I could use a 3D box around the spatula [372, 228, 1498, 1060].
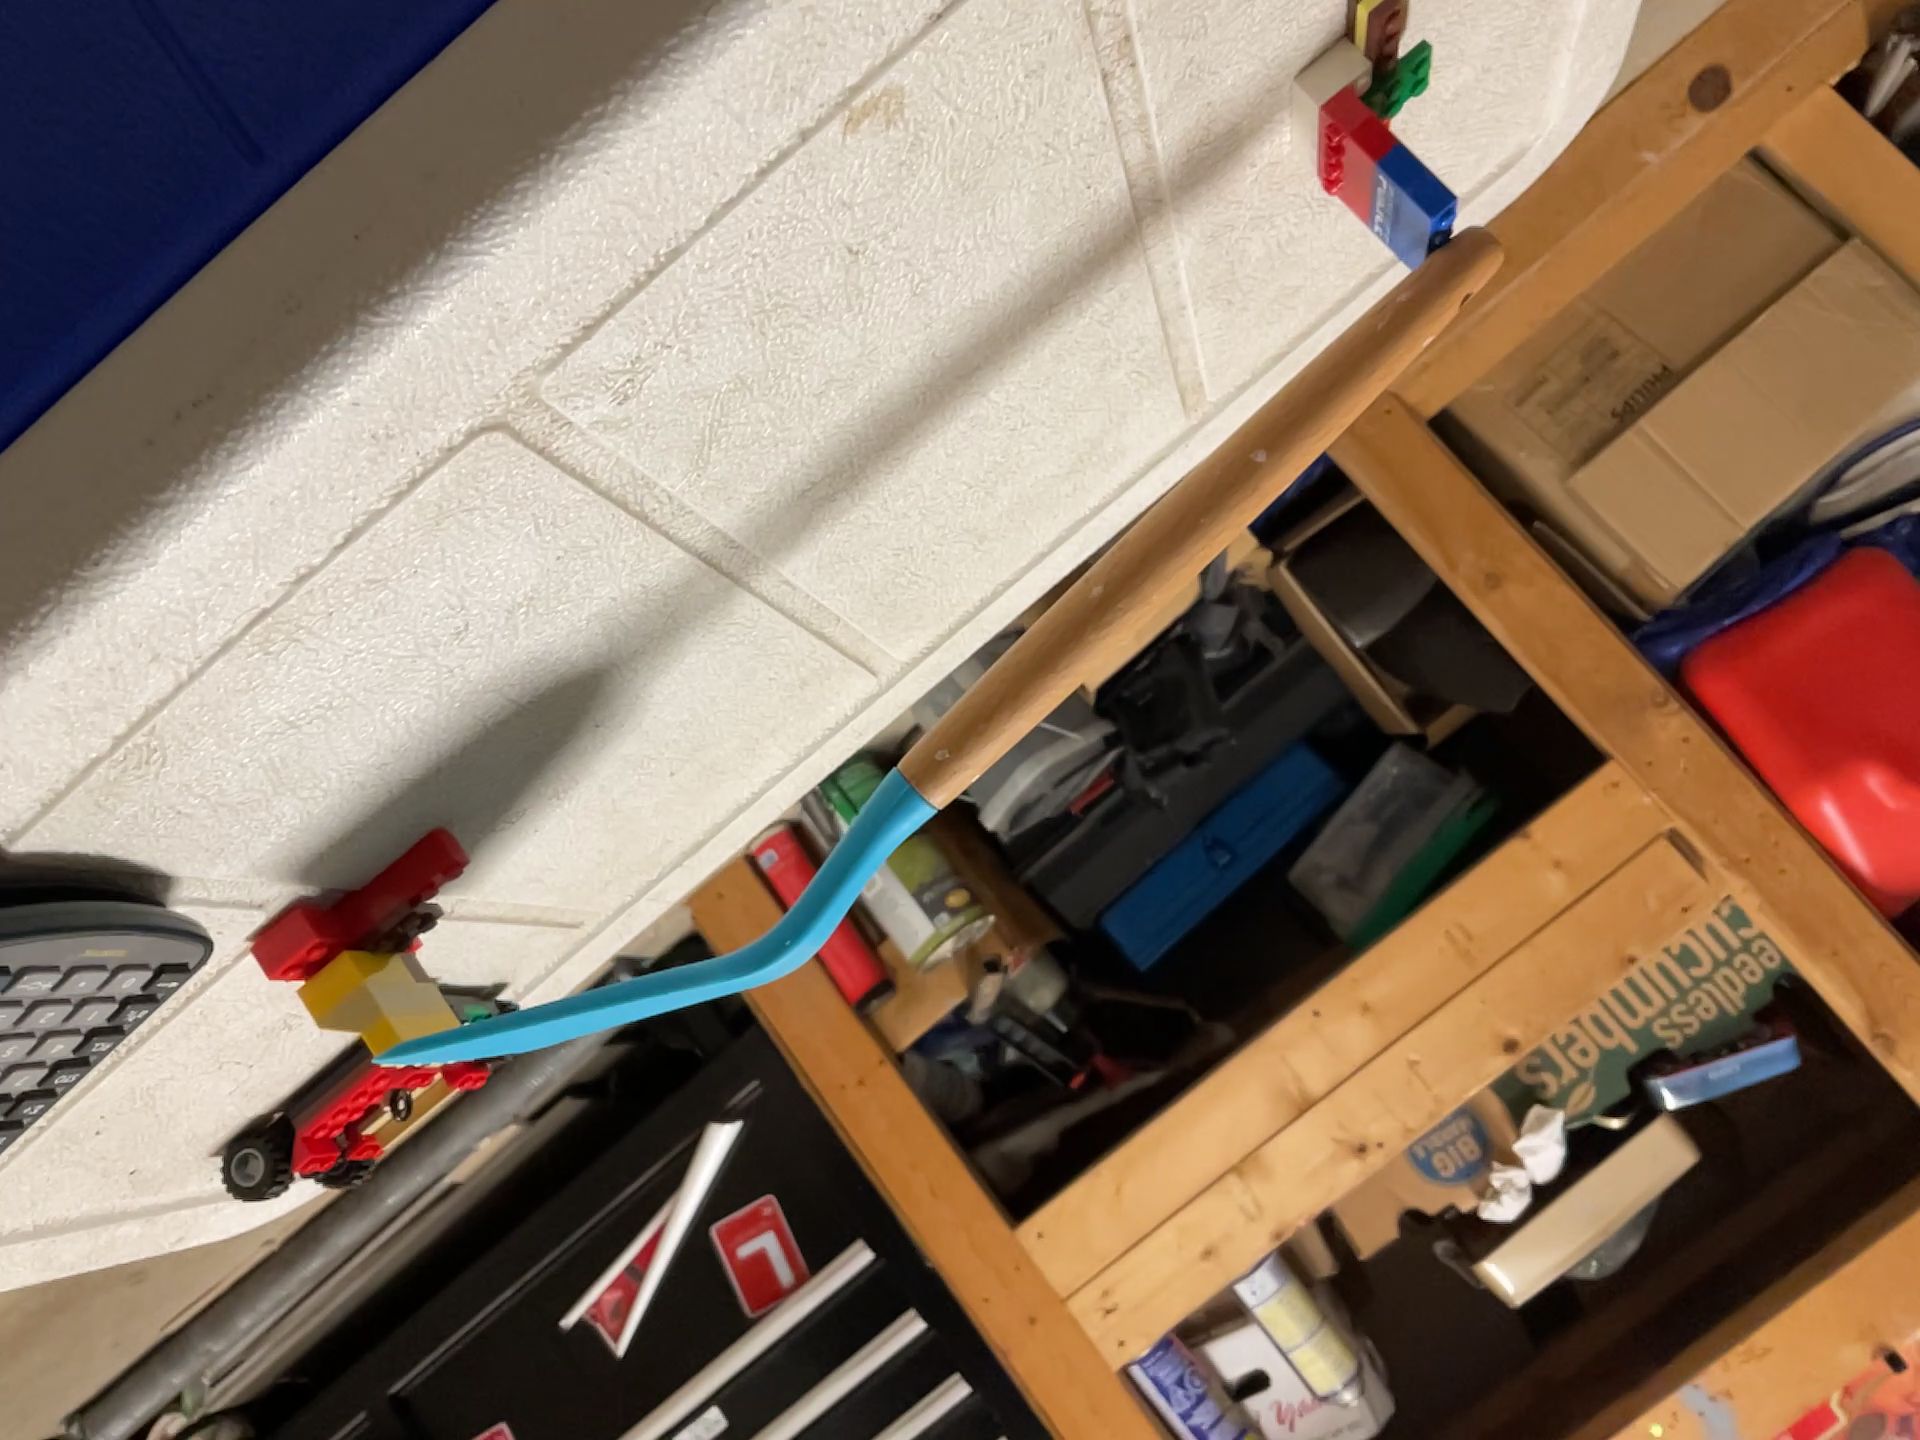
[{"bbox_3d":[0.001,-0.010,0.385,0.317,0.044,0.082,-43,164,3],"label":"spatula"}]
